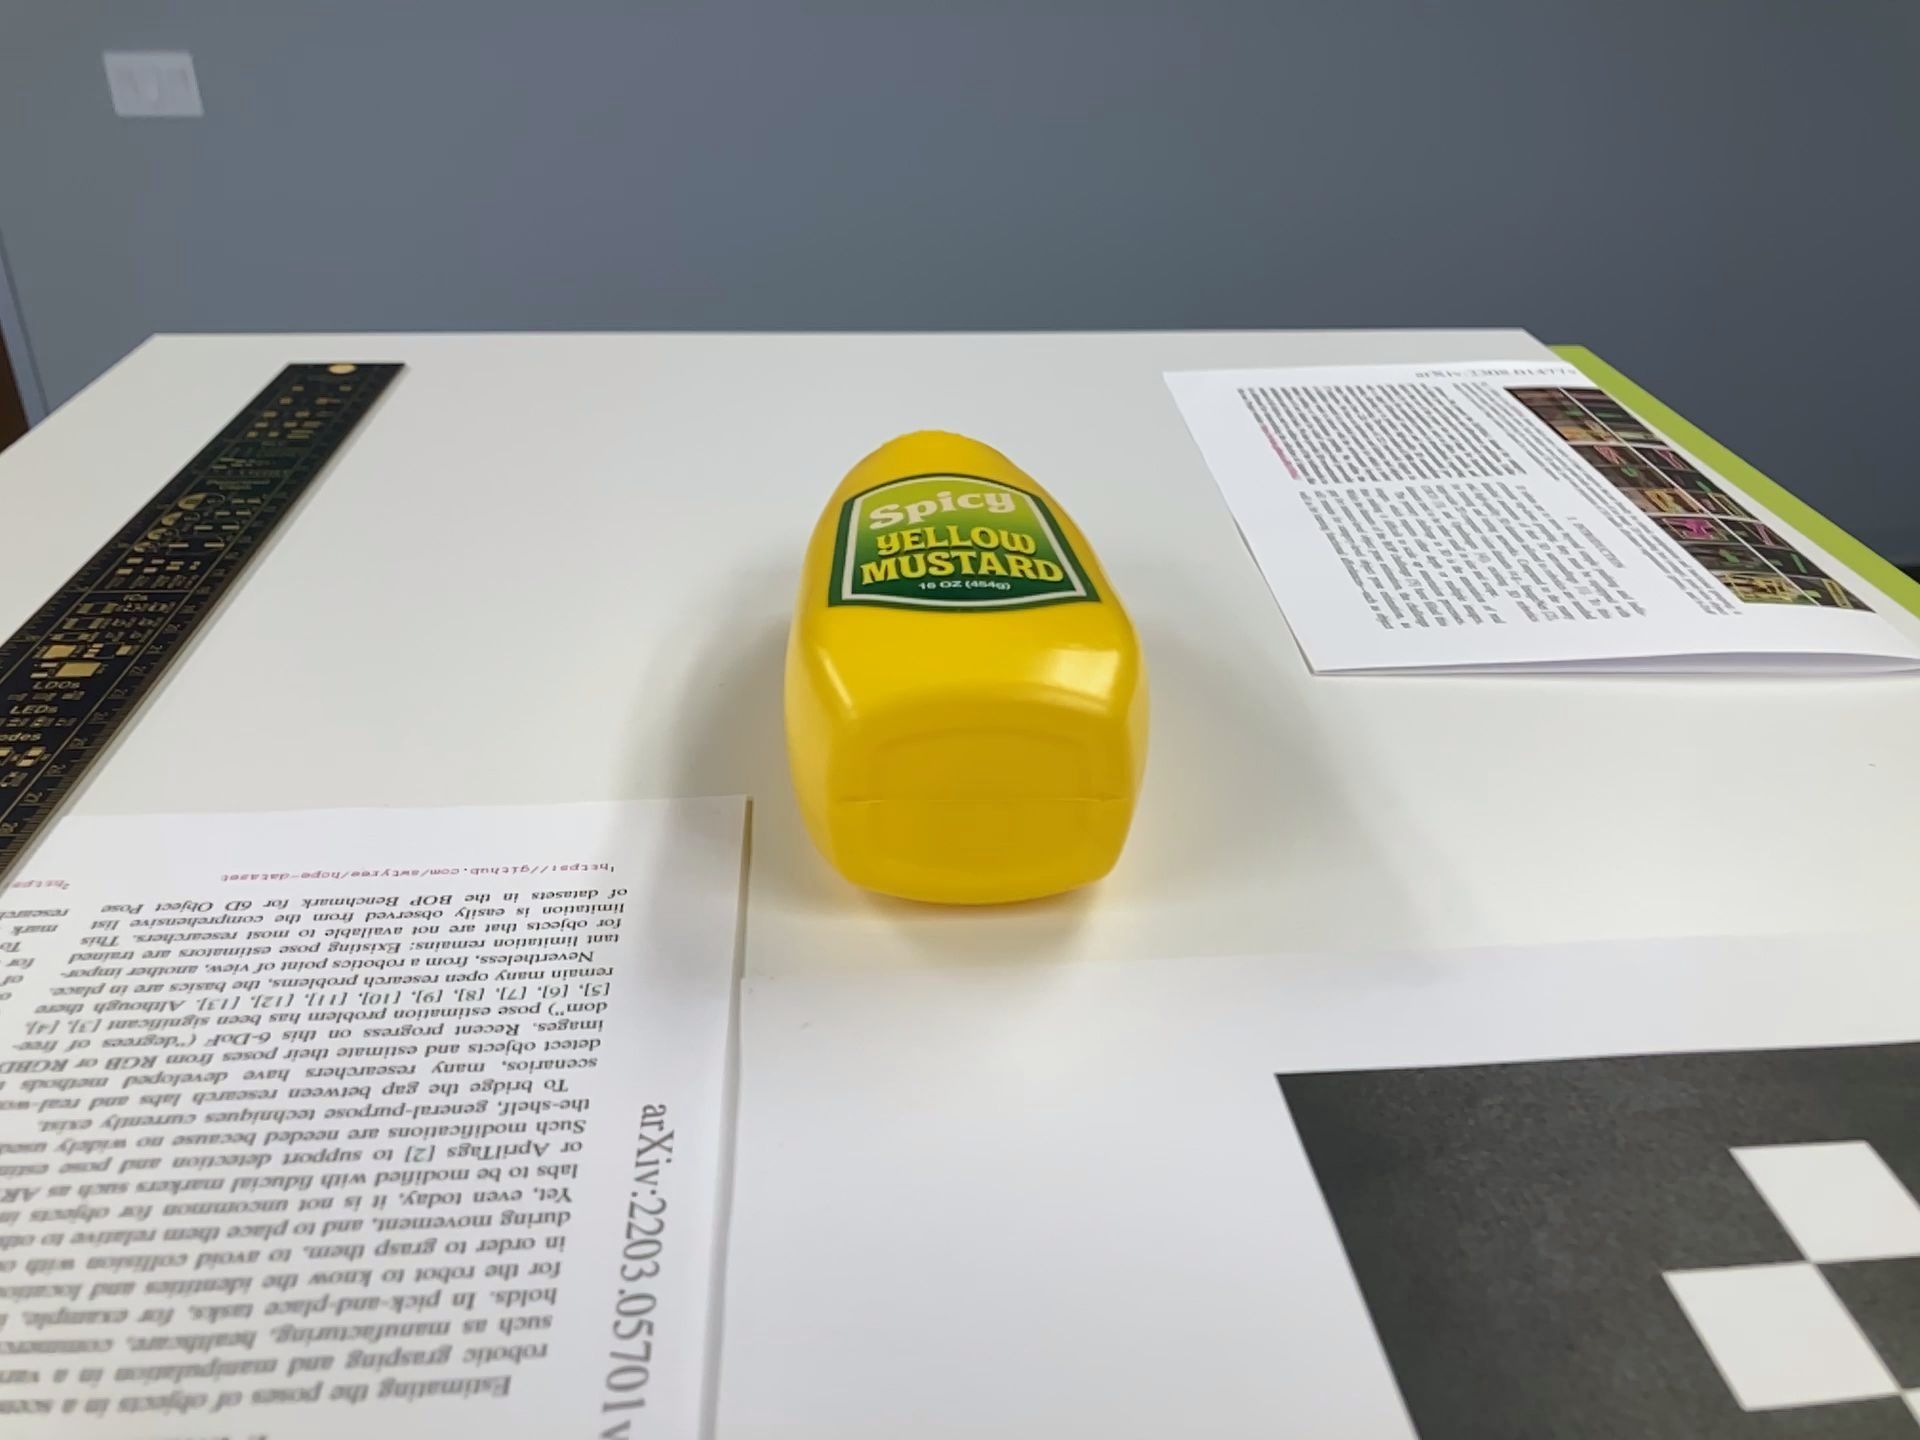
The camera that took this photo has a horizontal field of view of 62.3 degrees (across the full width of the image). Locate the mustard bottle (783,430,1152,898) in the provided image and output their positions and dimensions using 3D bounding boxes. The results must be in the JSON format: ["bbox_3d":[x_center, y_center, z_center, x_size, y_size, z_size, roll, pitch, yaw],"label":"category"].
[{"bbox_3d":[-0.003,-0.026,0.325,0.065,0.049,0.160,-1,29,-6],"label":"mustard bottle"}]
